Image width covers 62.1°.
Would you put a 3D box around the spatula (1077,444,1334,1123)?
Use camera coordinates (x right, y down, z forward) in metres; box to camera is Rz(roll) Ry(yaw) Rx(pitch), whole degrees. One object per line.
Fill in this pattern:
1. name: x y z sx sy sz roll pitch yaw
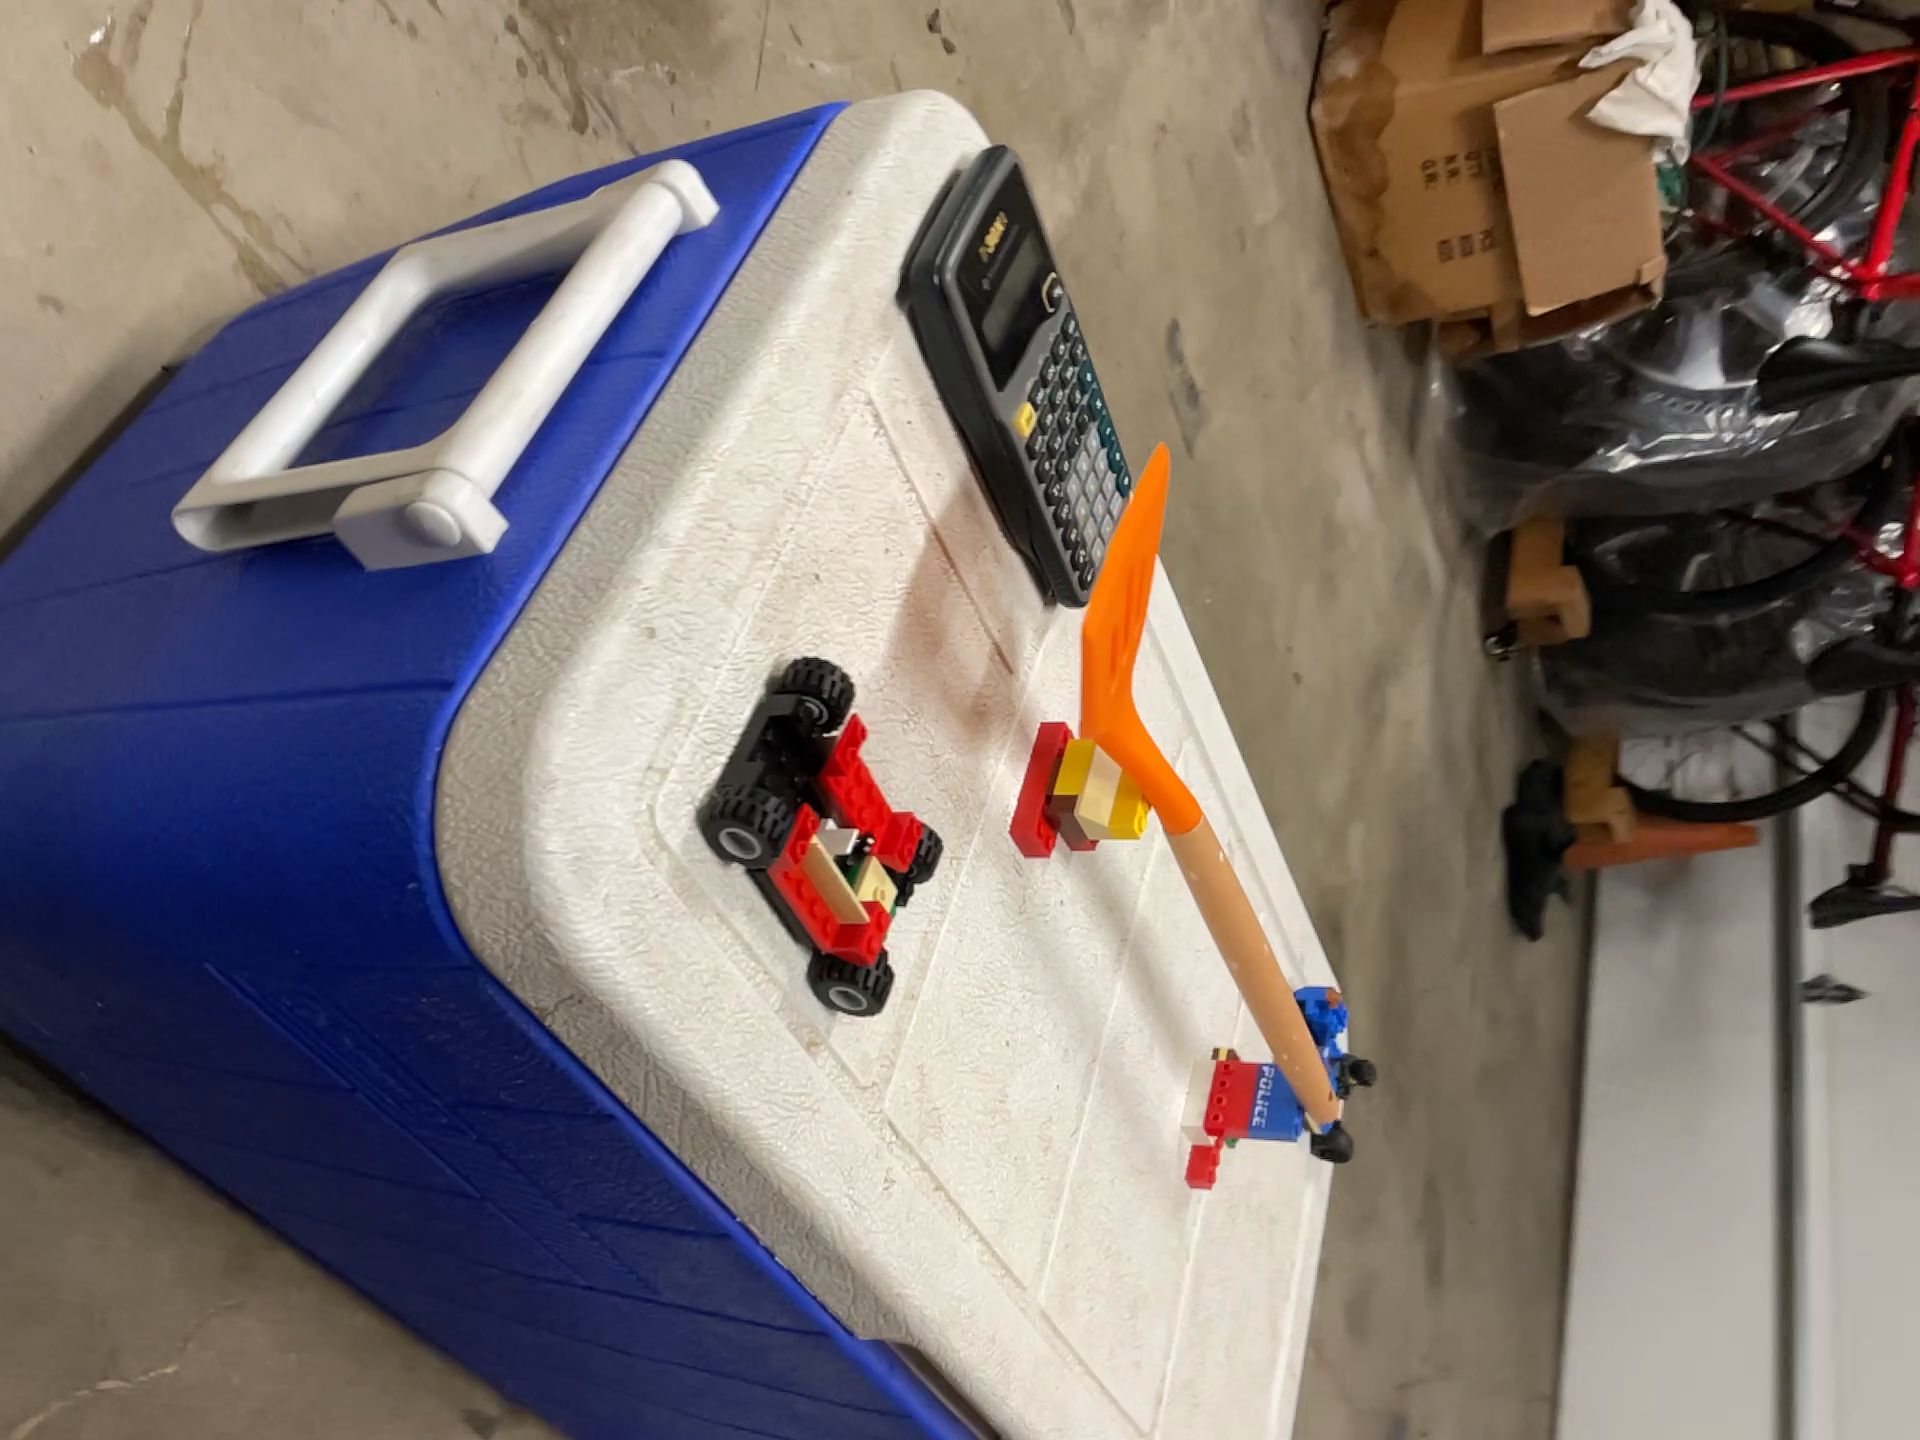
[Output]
1. spatula: 0.093 0.052 0.562 0.322 0.041 0.081 60 41 -38
